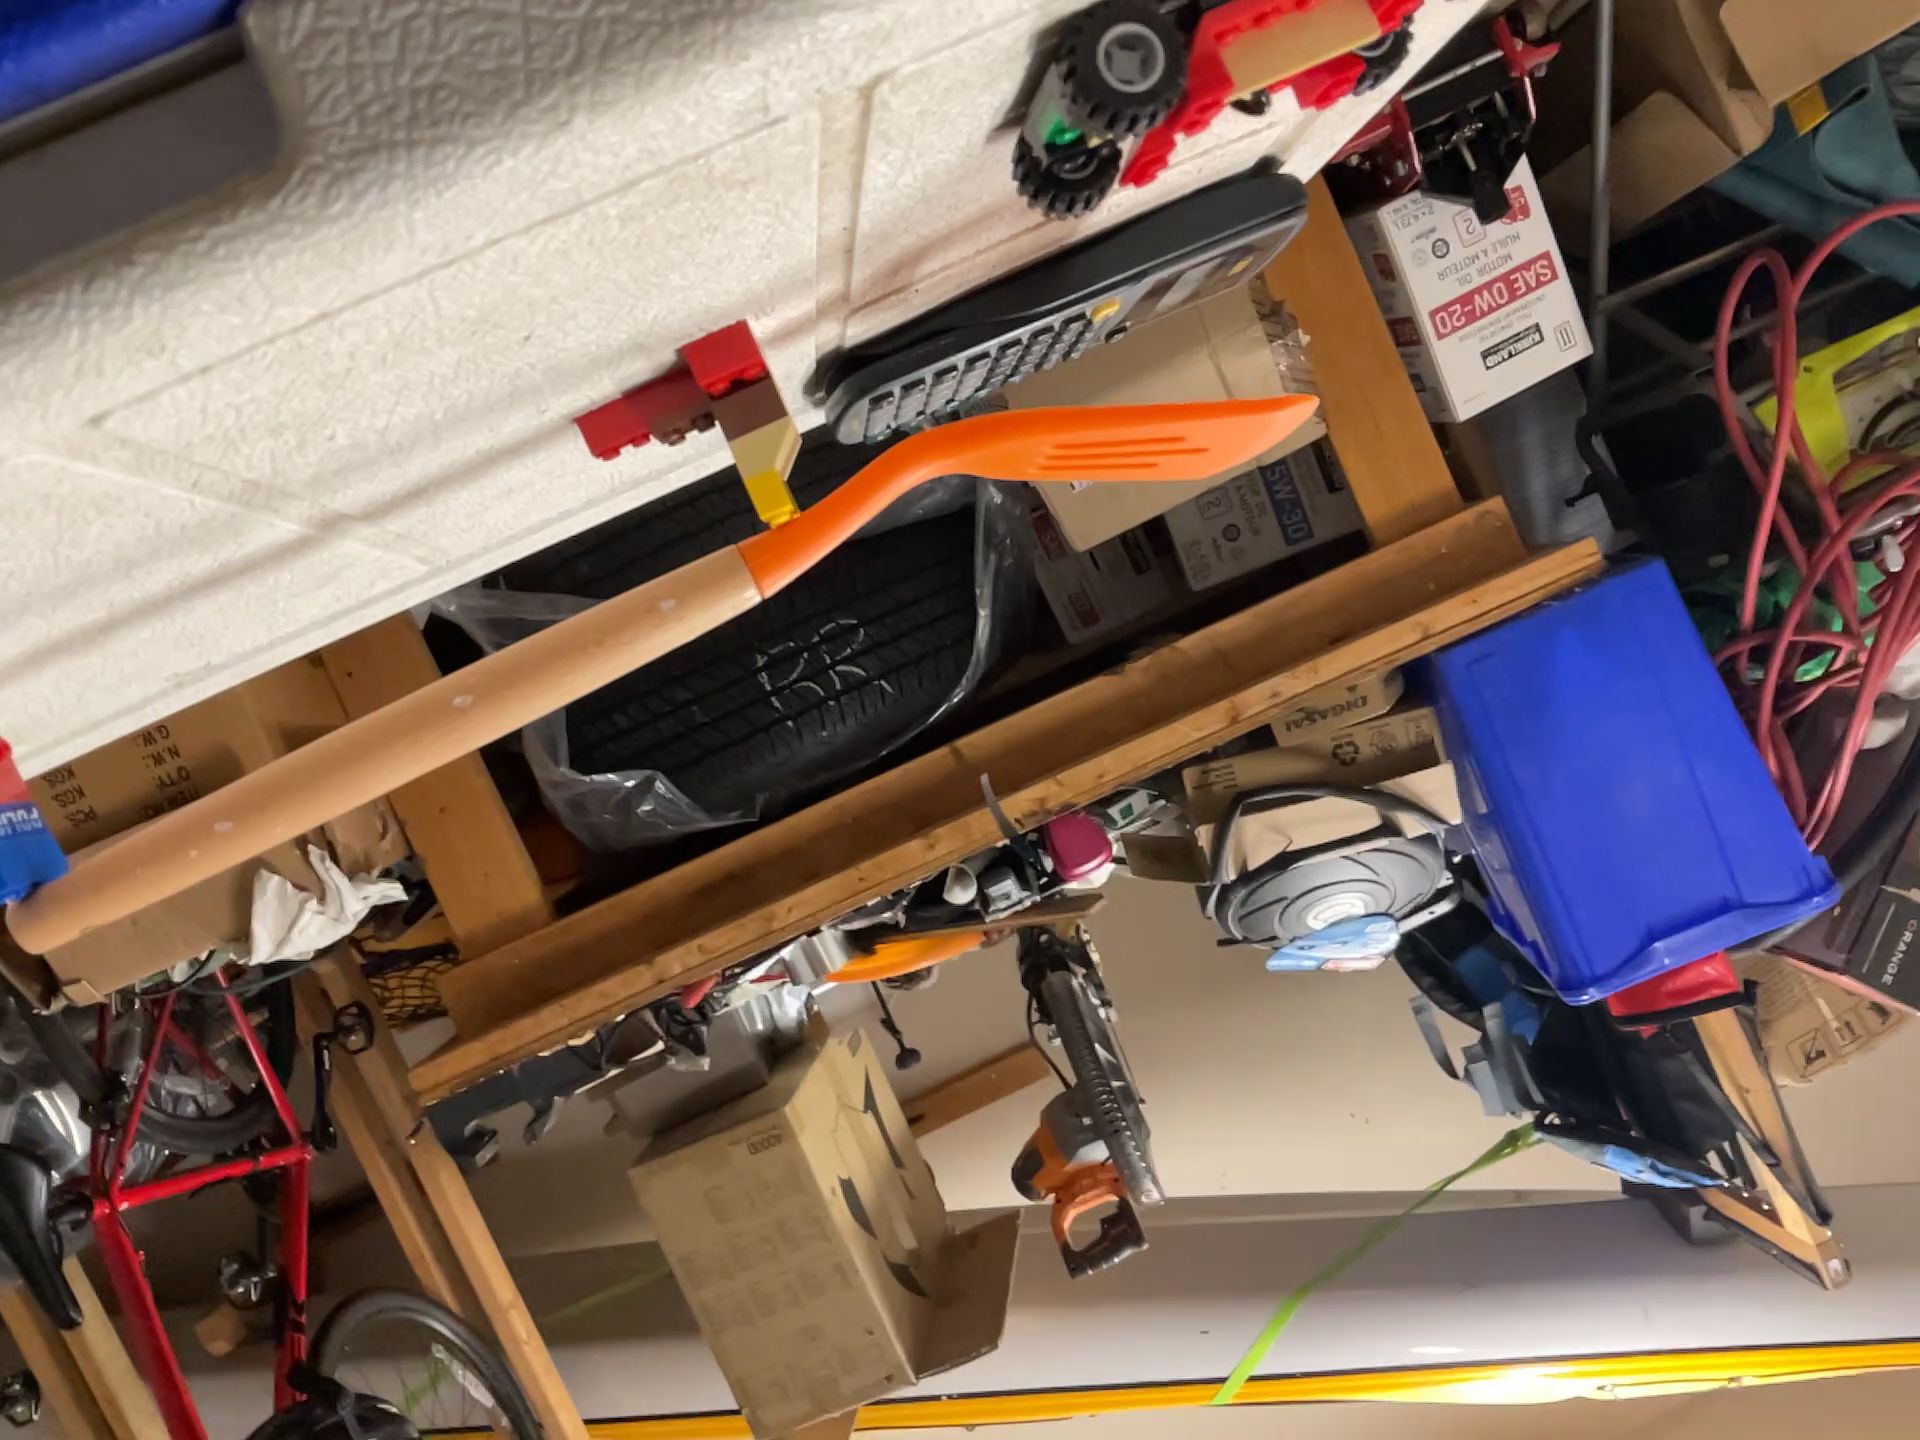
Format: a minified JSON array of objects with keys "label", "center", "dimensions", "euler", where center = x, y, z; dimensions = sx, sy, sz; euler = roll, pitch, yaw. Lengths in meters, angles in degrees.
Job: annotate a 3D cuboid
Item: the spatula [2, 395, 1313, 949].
[{"label":"spatula","center":[-0.070,-0.017,0.385],"dimensions":[0.322,0.041,0.081],"euler":[-27,-179,-6]}]
